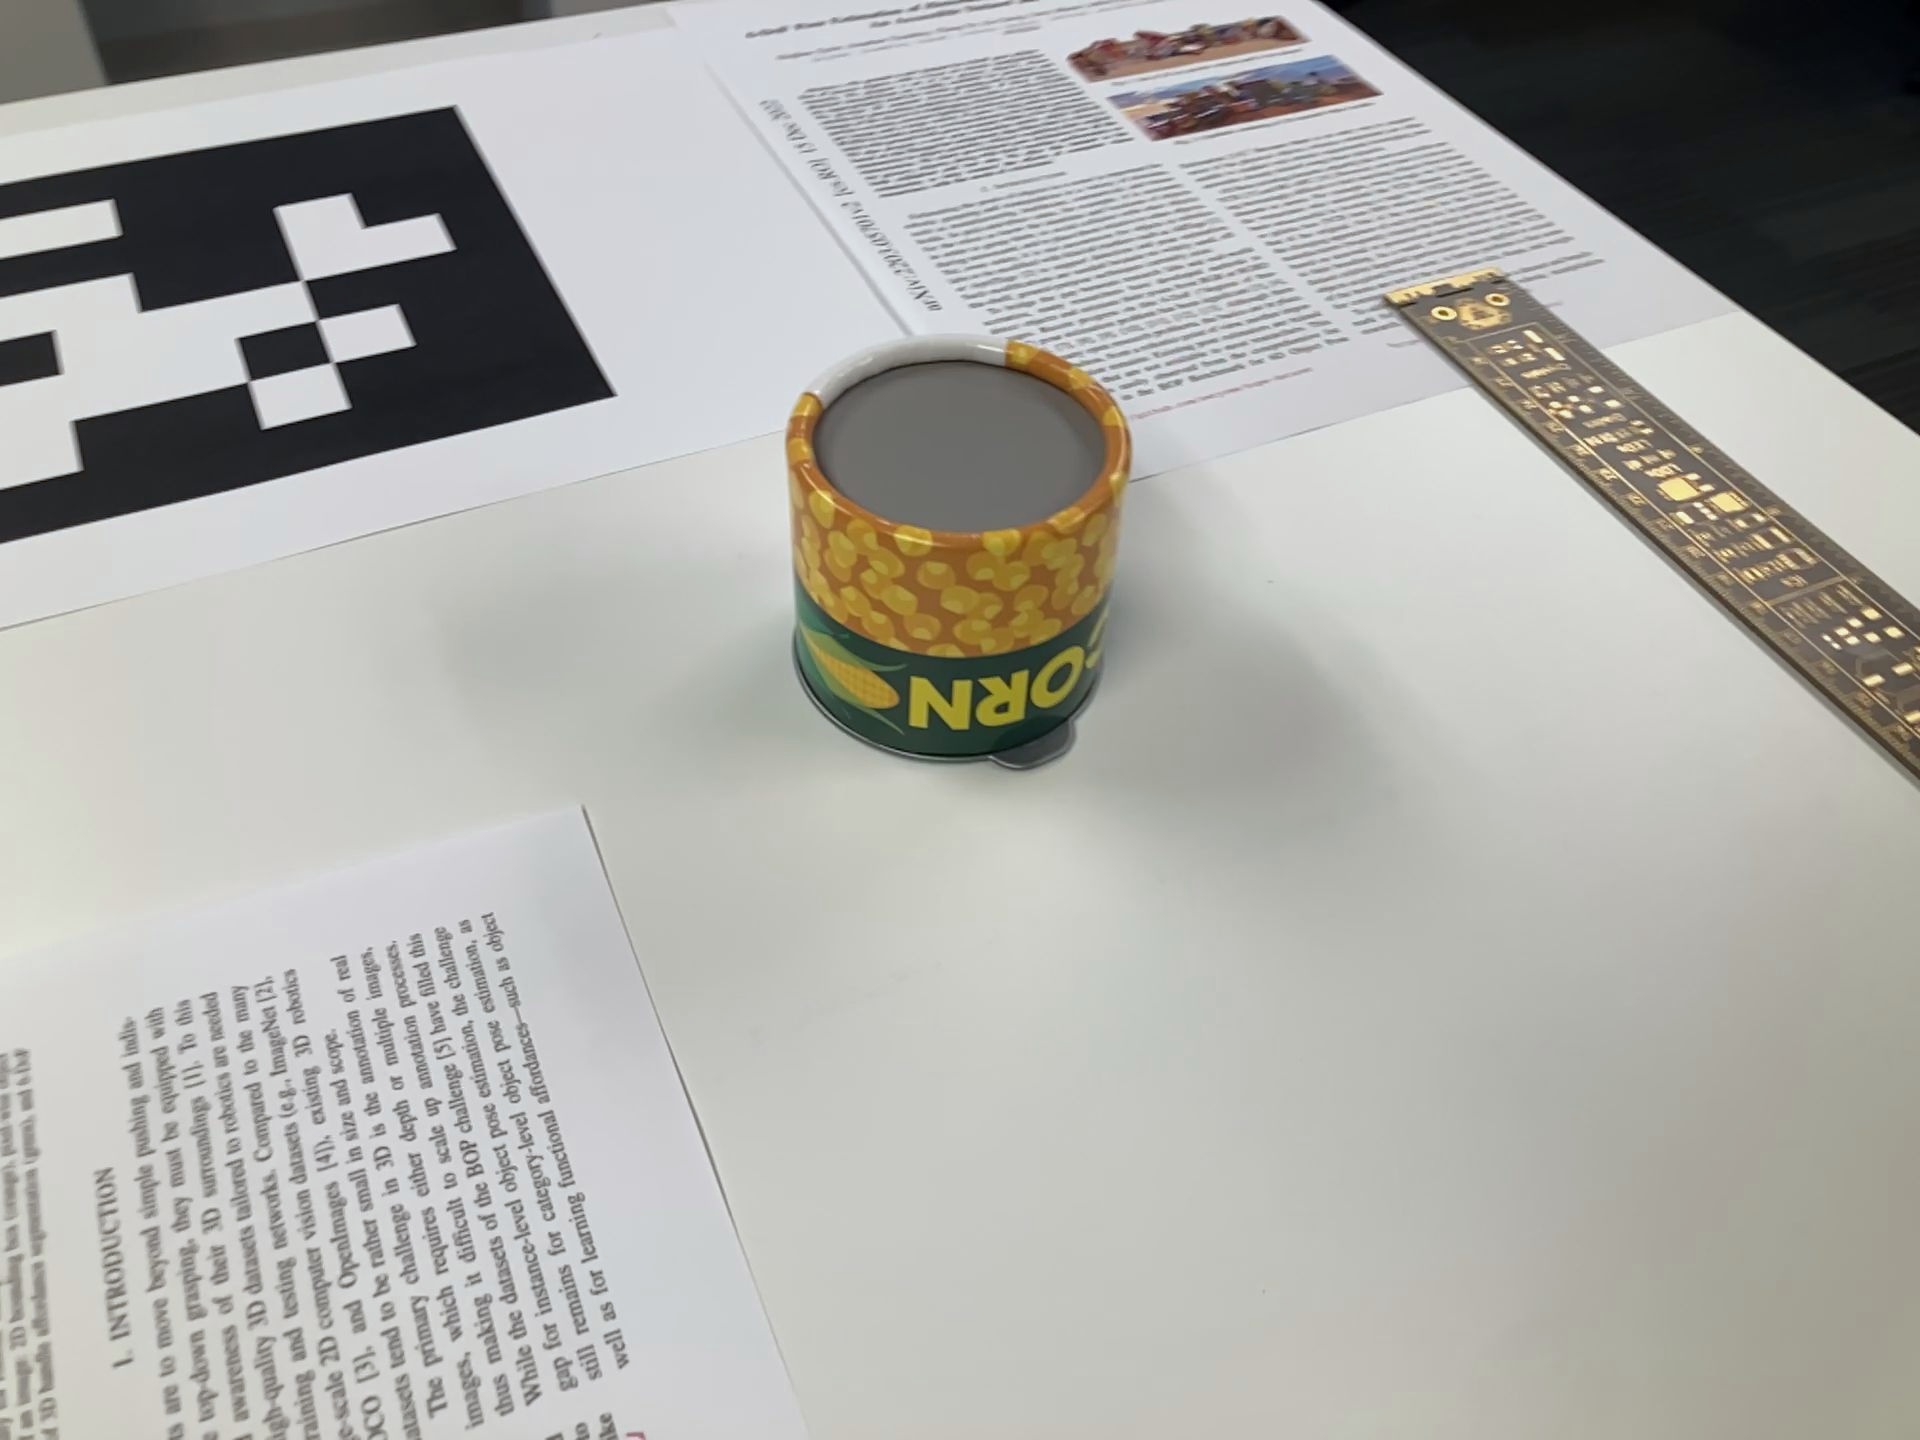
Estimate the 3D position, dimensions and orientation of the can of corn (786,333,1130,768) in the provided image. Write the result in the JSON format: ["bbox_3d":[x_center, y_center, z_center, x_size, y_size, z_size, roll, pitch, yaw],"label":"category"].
[{"bbox_3d":[0.000,-0.034,0.319,0.071,0.058,0.071,2,47,-2],"label":"can of corn"}]
